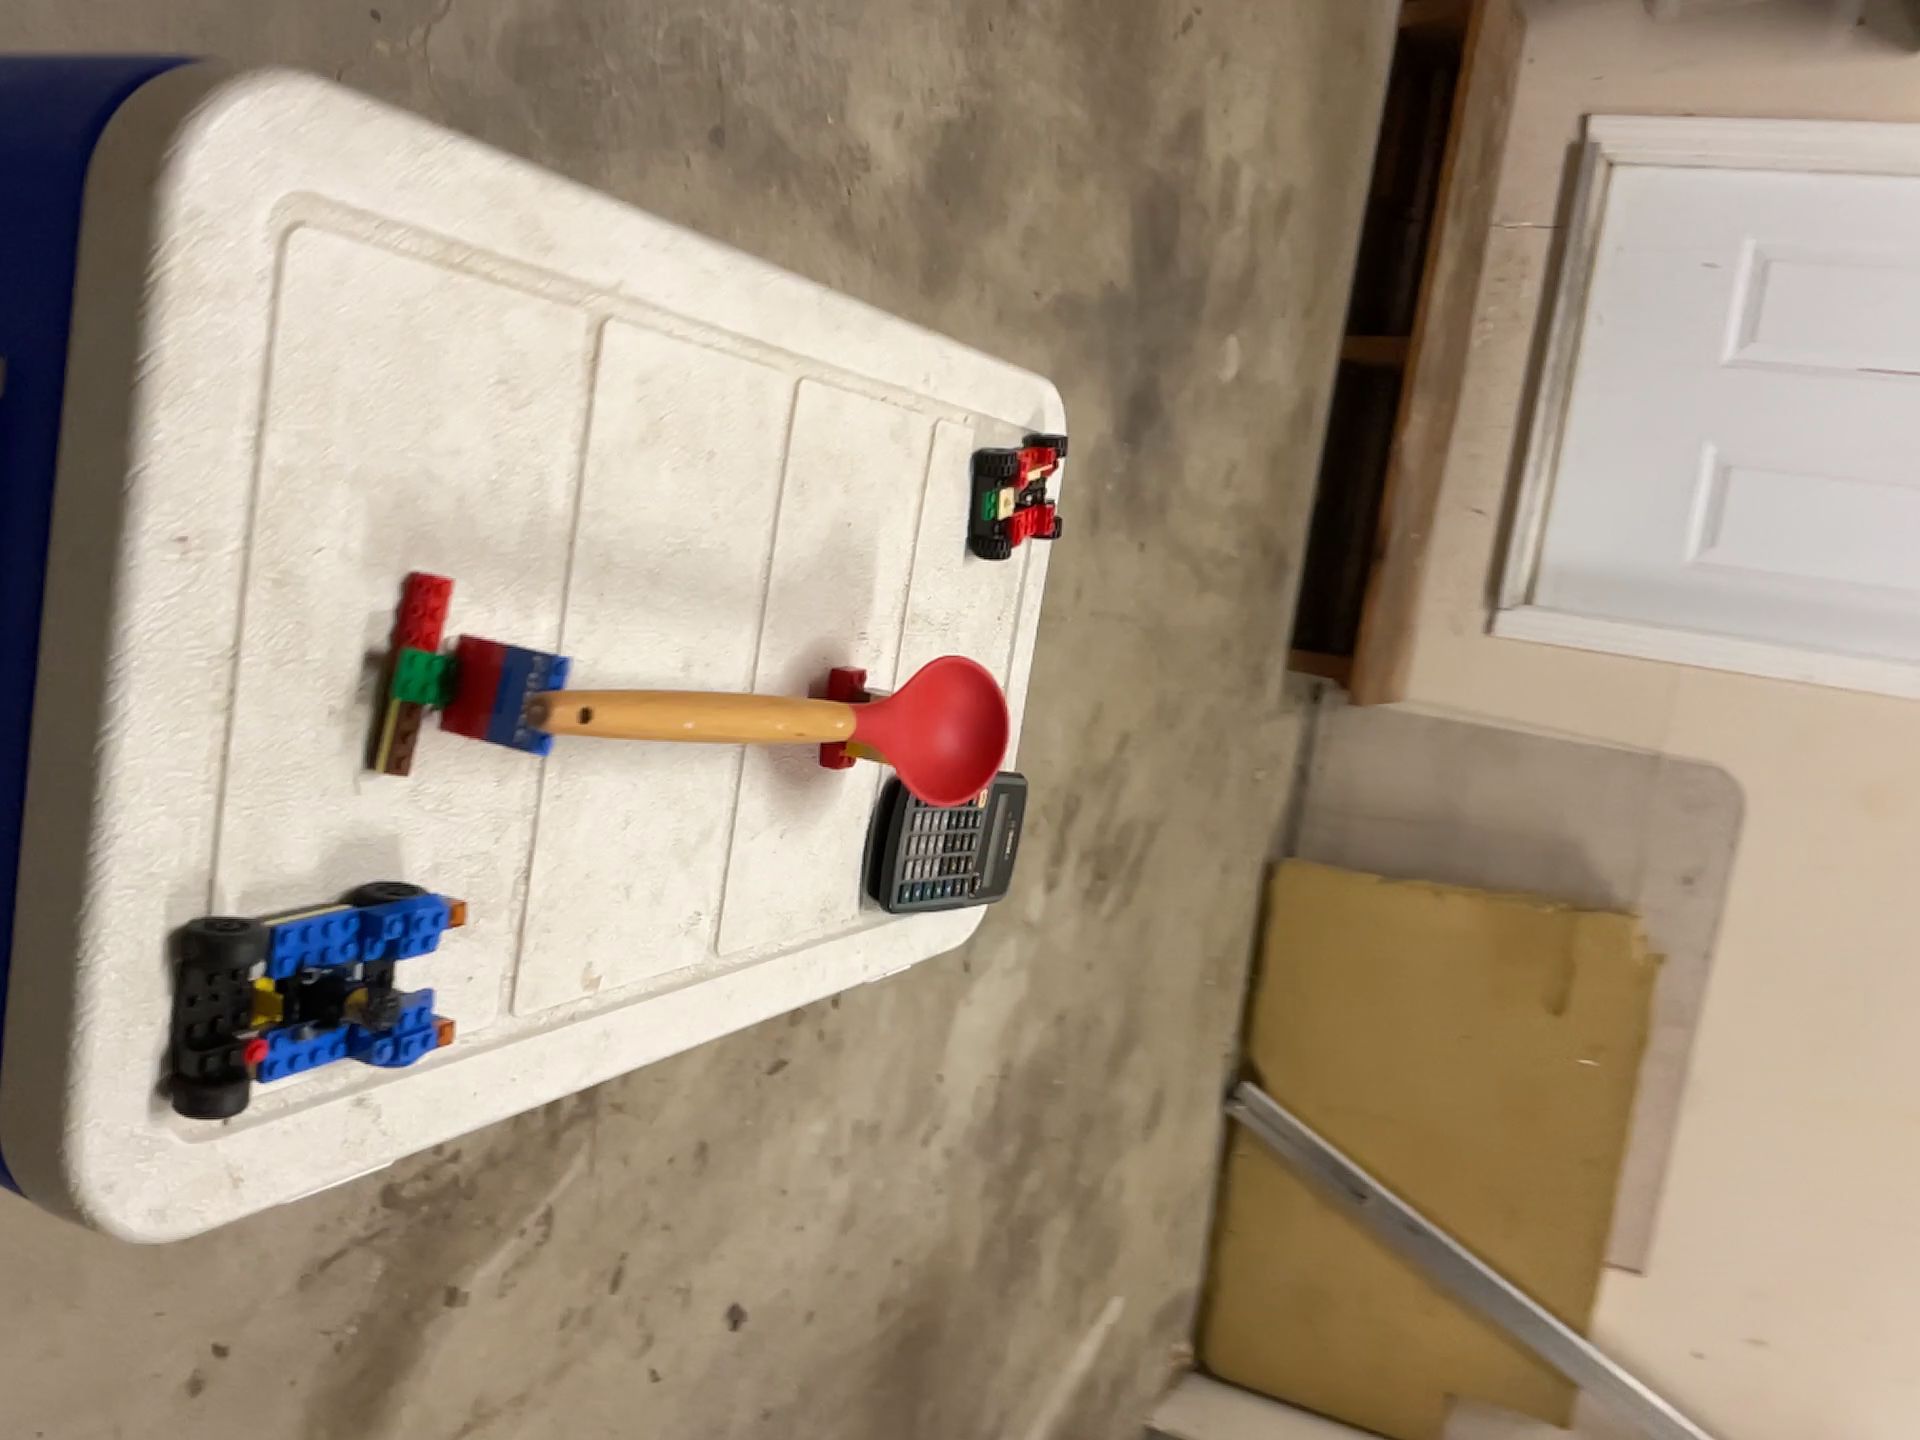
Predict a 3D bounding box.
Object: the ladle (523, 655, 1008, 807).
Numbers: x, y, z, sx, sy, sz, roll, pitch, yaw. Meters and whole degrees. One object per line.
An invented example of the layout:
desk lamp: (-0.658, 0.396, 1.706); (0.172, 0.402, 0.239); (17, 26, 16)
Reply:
ladle: (-0.059, 0.001, 0.620); (0.315, 0.031, 0.069); (4, 93, -64)
